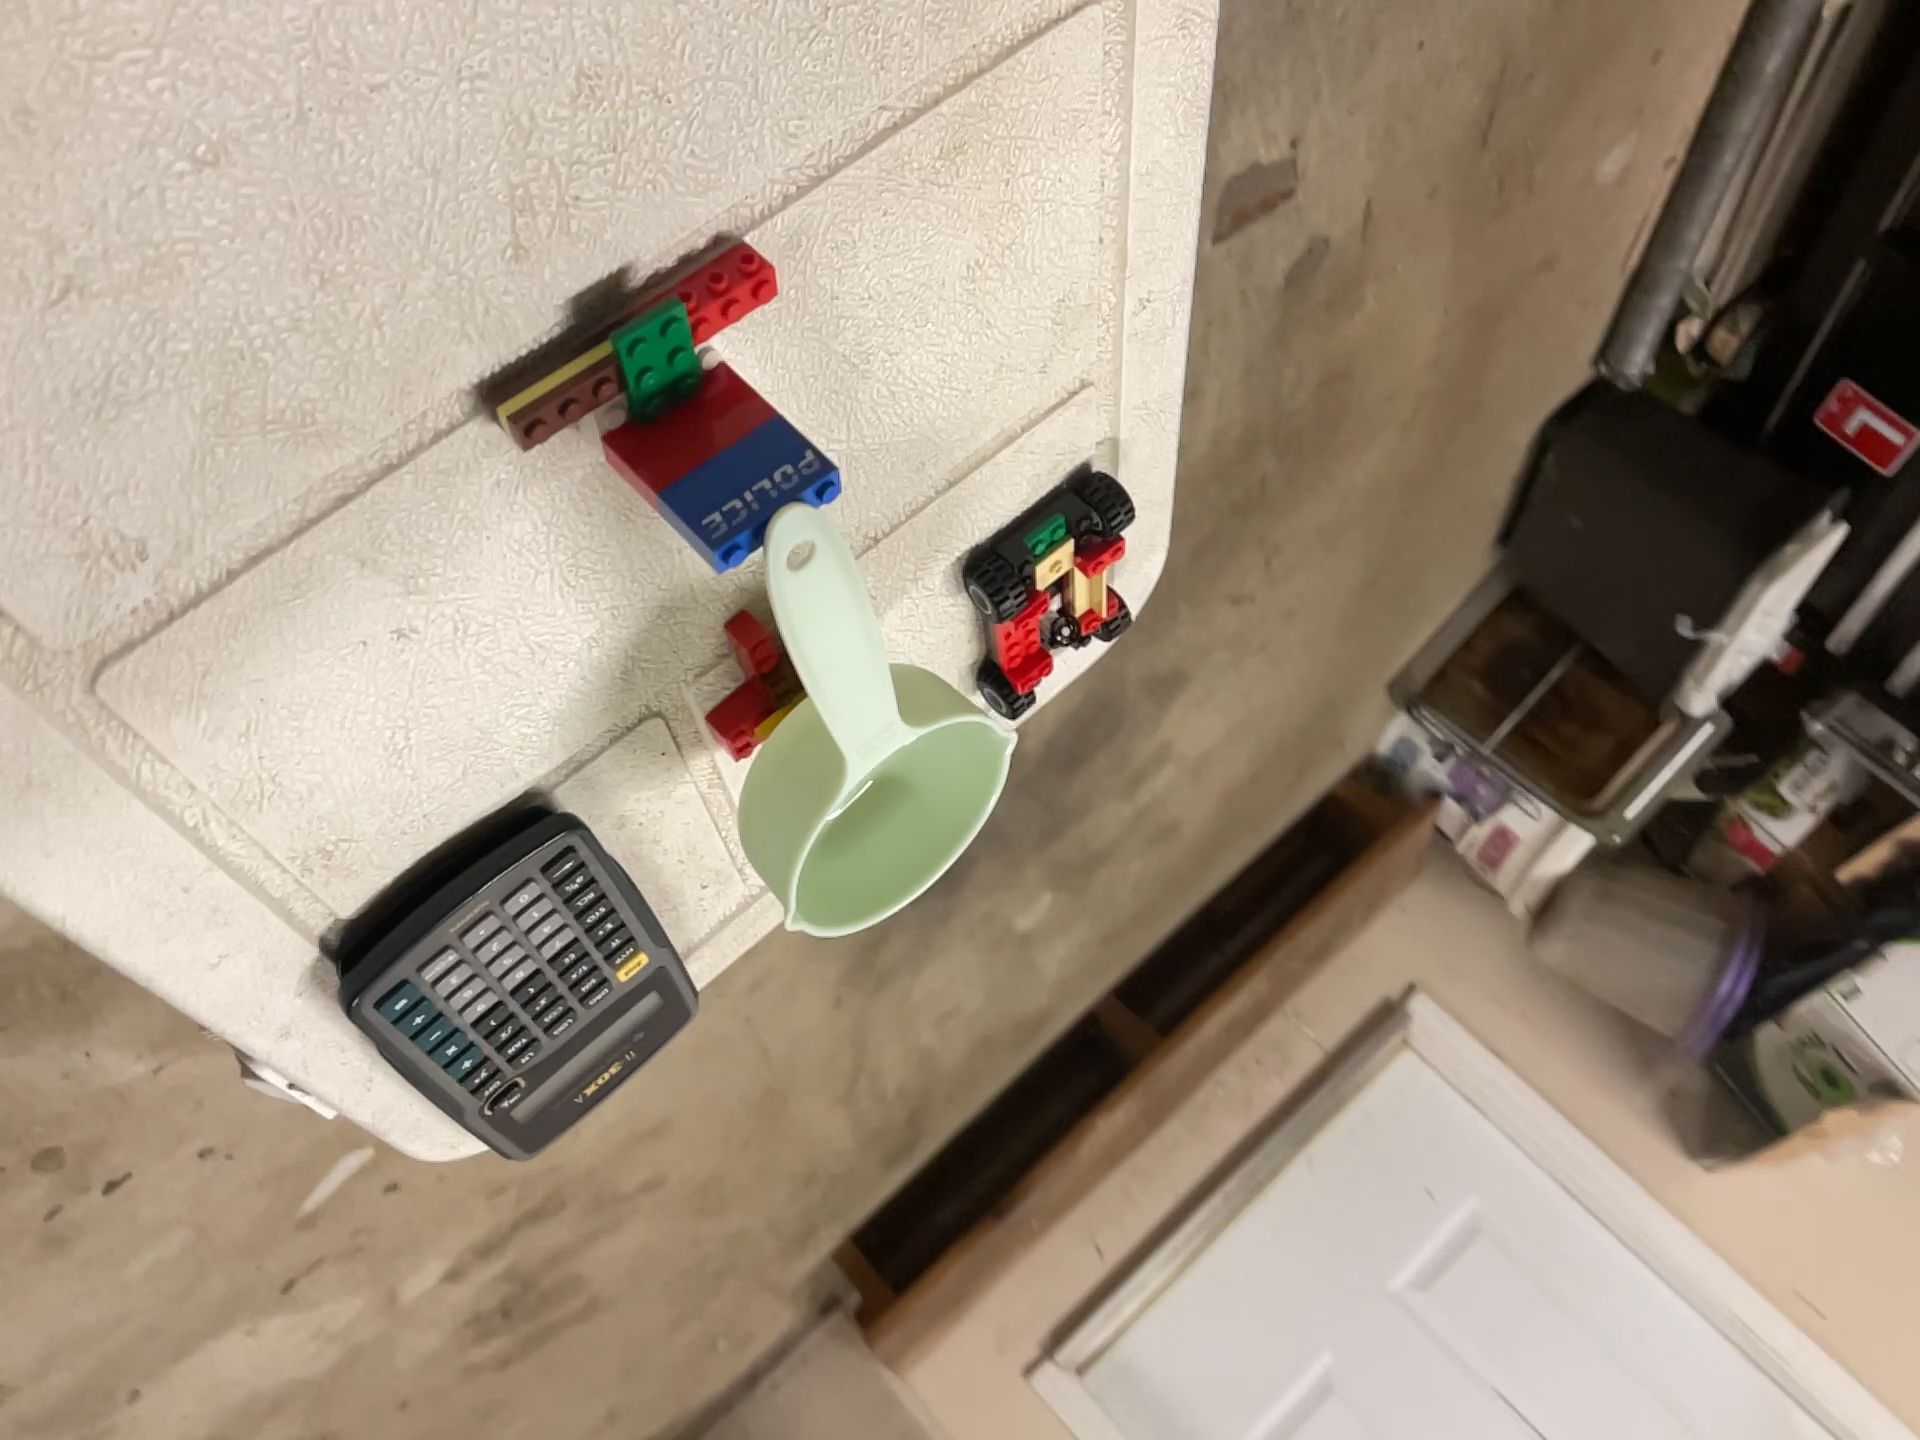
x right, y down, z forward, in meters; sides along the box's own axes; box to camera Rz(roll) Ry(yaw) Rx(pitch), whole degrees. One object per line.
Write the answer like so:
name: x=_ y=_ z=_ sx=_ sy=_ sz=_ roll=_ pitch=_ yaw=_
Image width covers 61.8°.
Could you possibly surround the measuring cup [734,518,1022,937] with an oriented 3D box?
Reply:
measuring cup: x=-0.033 y=-0.005 z=0.397 sx=0.083 sy=0.038 sz=0.167 roll=-39 pitch=150 yaw=-14
